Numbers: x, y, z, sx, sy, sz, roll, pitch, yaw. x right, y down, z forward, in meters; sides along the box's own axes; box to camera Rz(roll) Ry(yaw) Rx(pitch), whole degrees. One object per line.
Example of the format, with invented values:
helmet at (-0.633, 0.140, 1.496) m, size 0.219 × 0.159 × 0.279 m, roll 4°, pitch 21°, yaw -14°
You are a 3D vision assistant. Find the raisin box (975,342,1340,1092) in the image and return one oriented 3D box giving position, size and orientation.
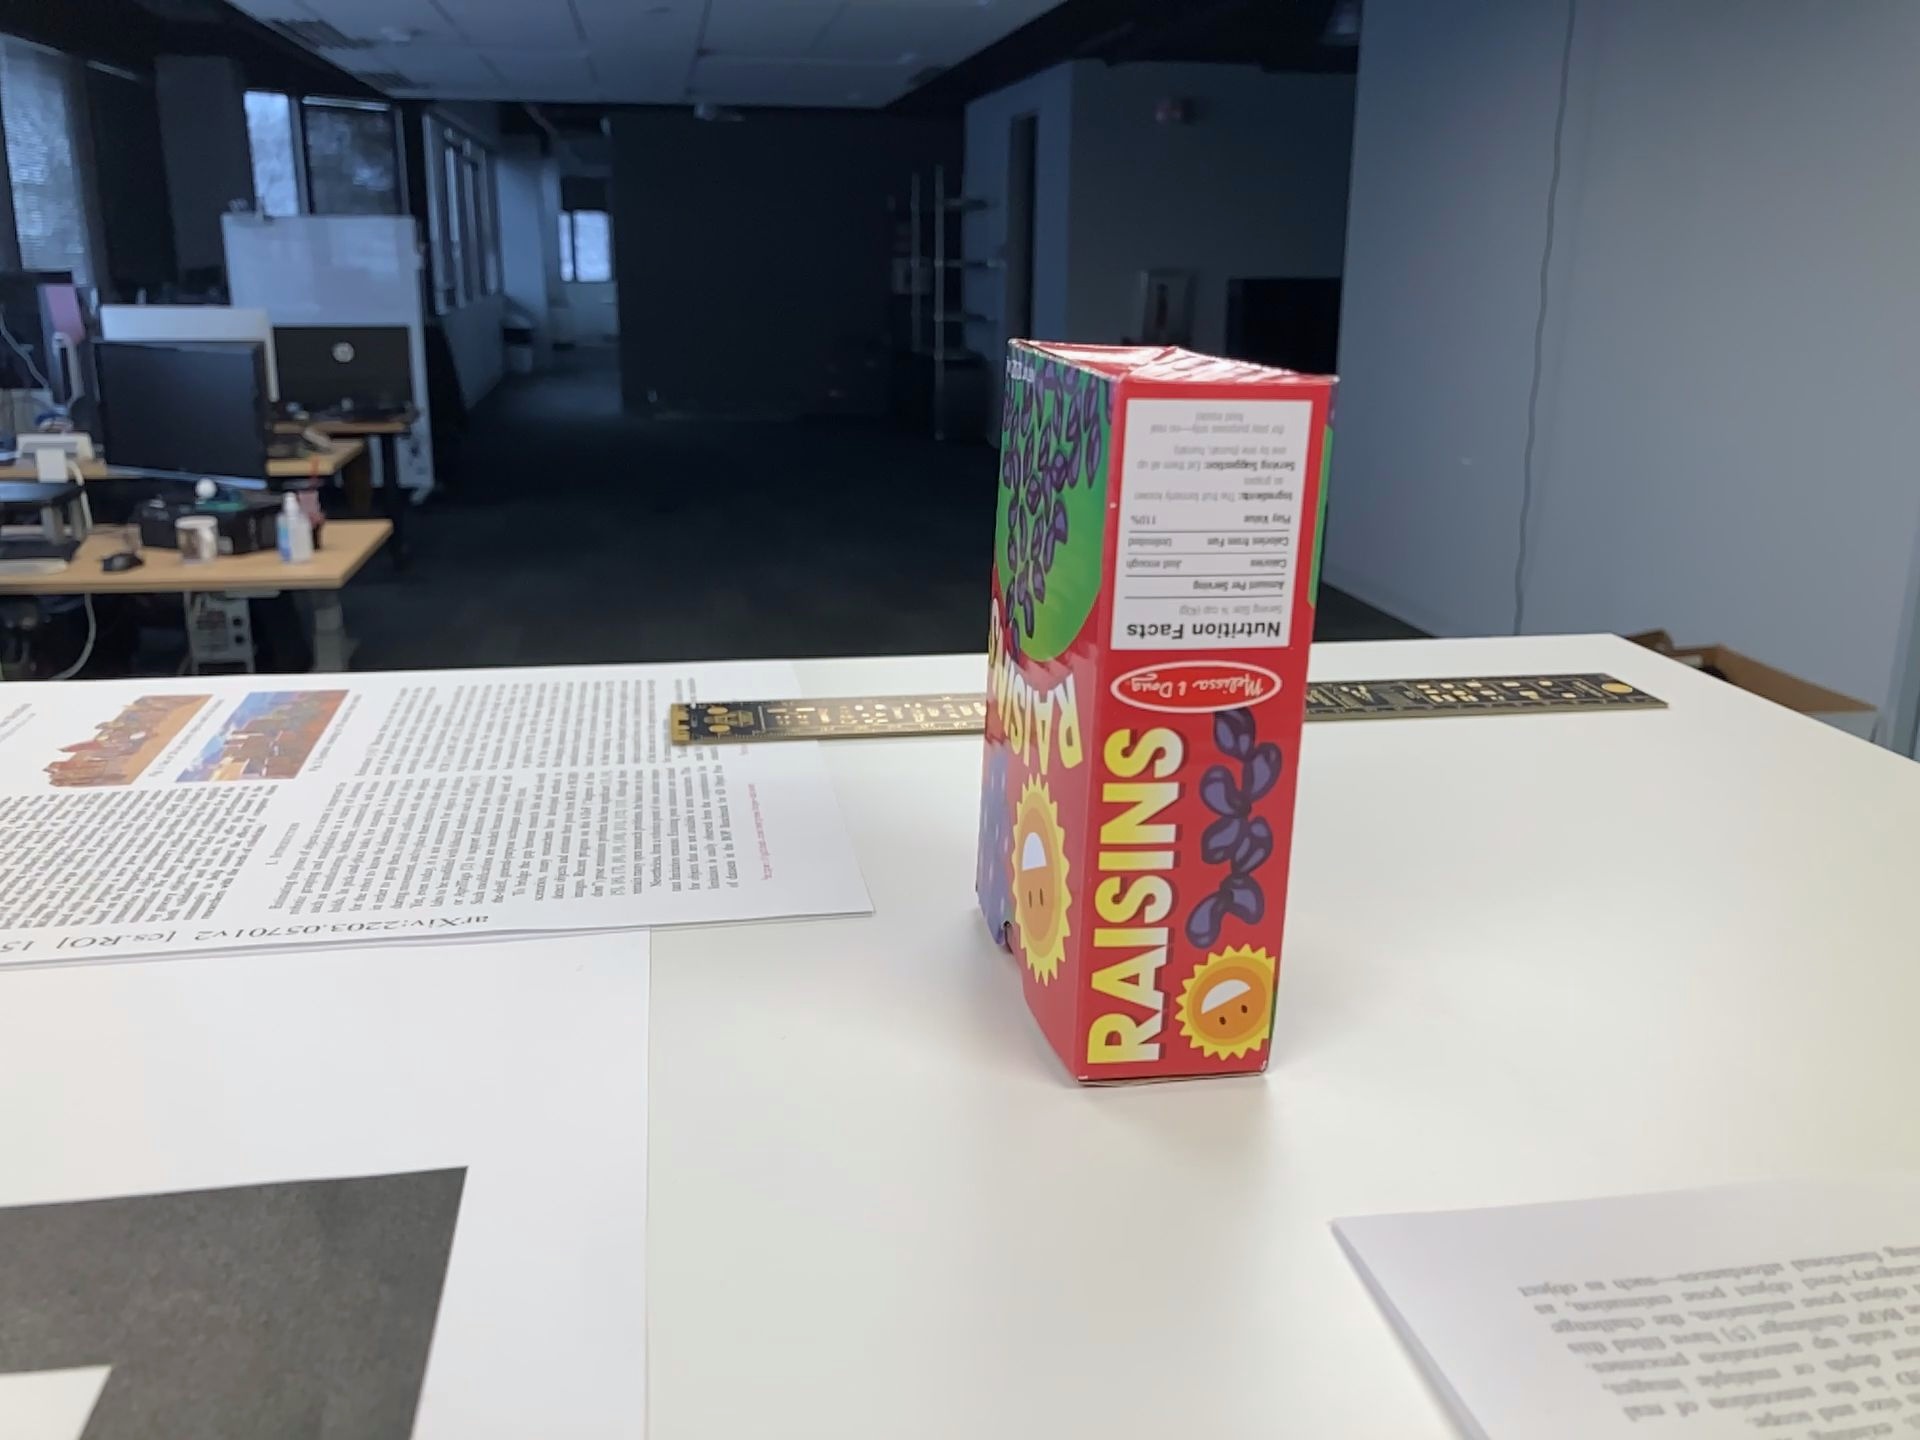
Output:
raisin box at (0.031, -0.007, 0.300) m, size 0.040 × 0.123 × 0.086 m, roll -1°, pitch 16°, yaw -12°
